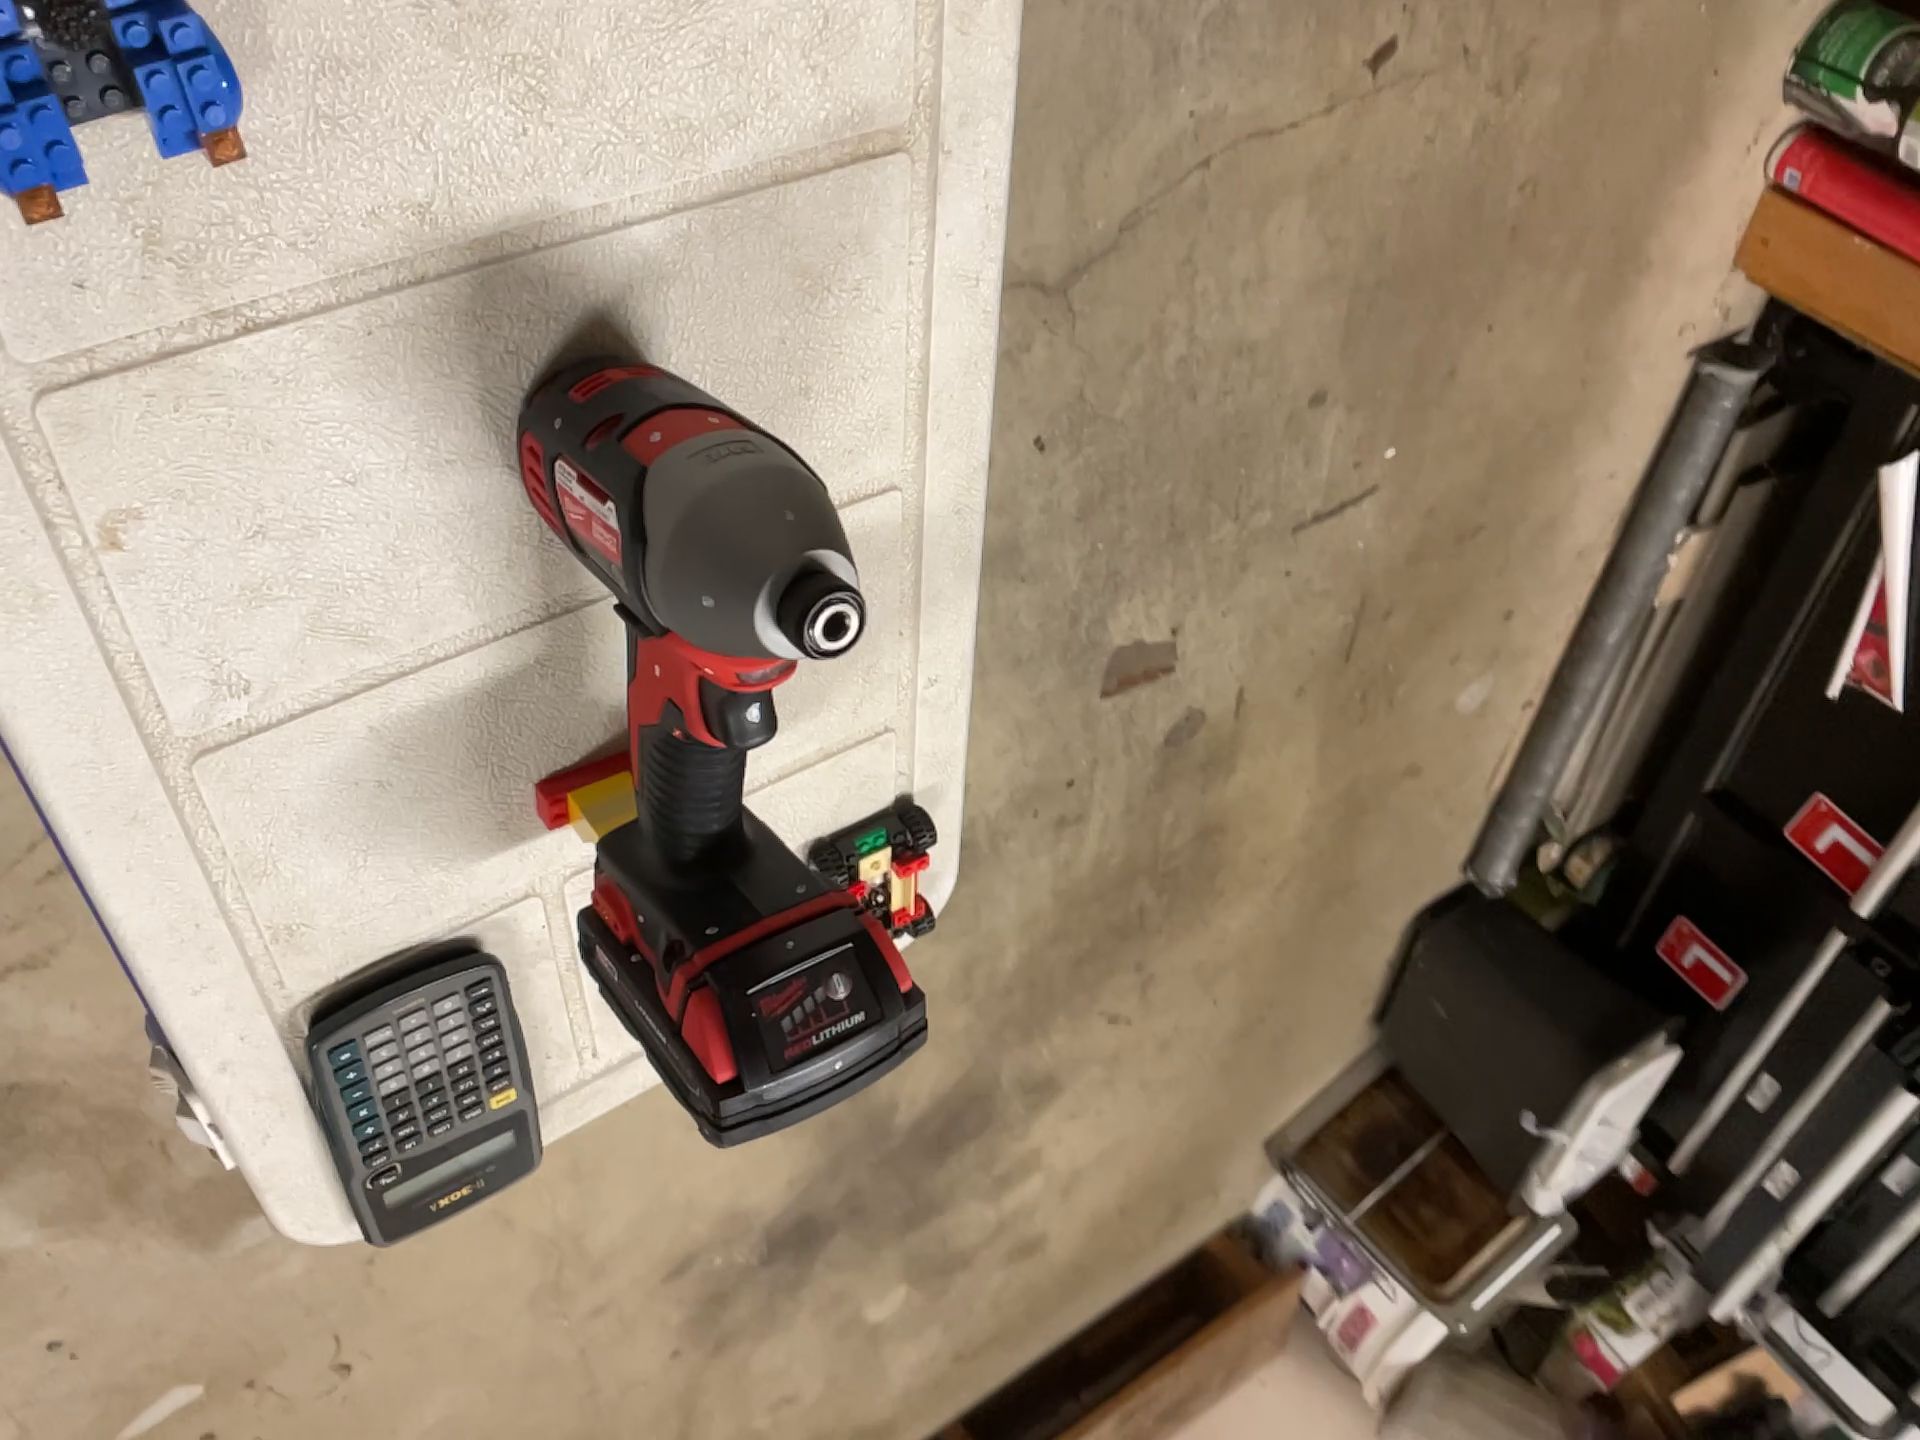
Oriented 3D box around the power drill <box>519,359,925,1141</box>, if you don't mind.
[{"bbox_3d":[-0.070,0.012,0.486,0.078,0.143,0.219,-22,128,-29],"label":"power drill"}]
